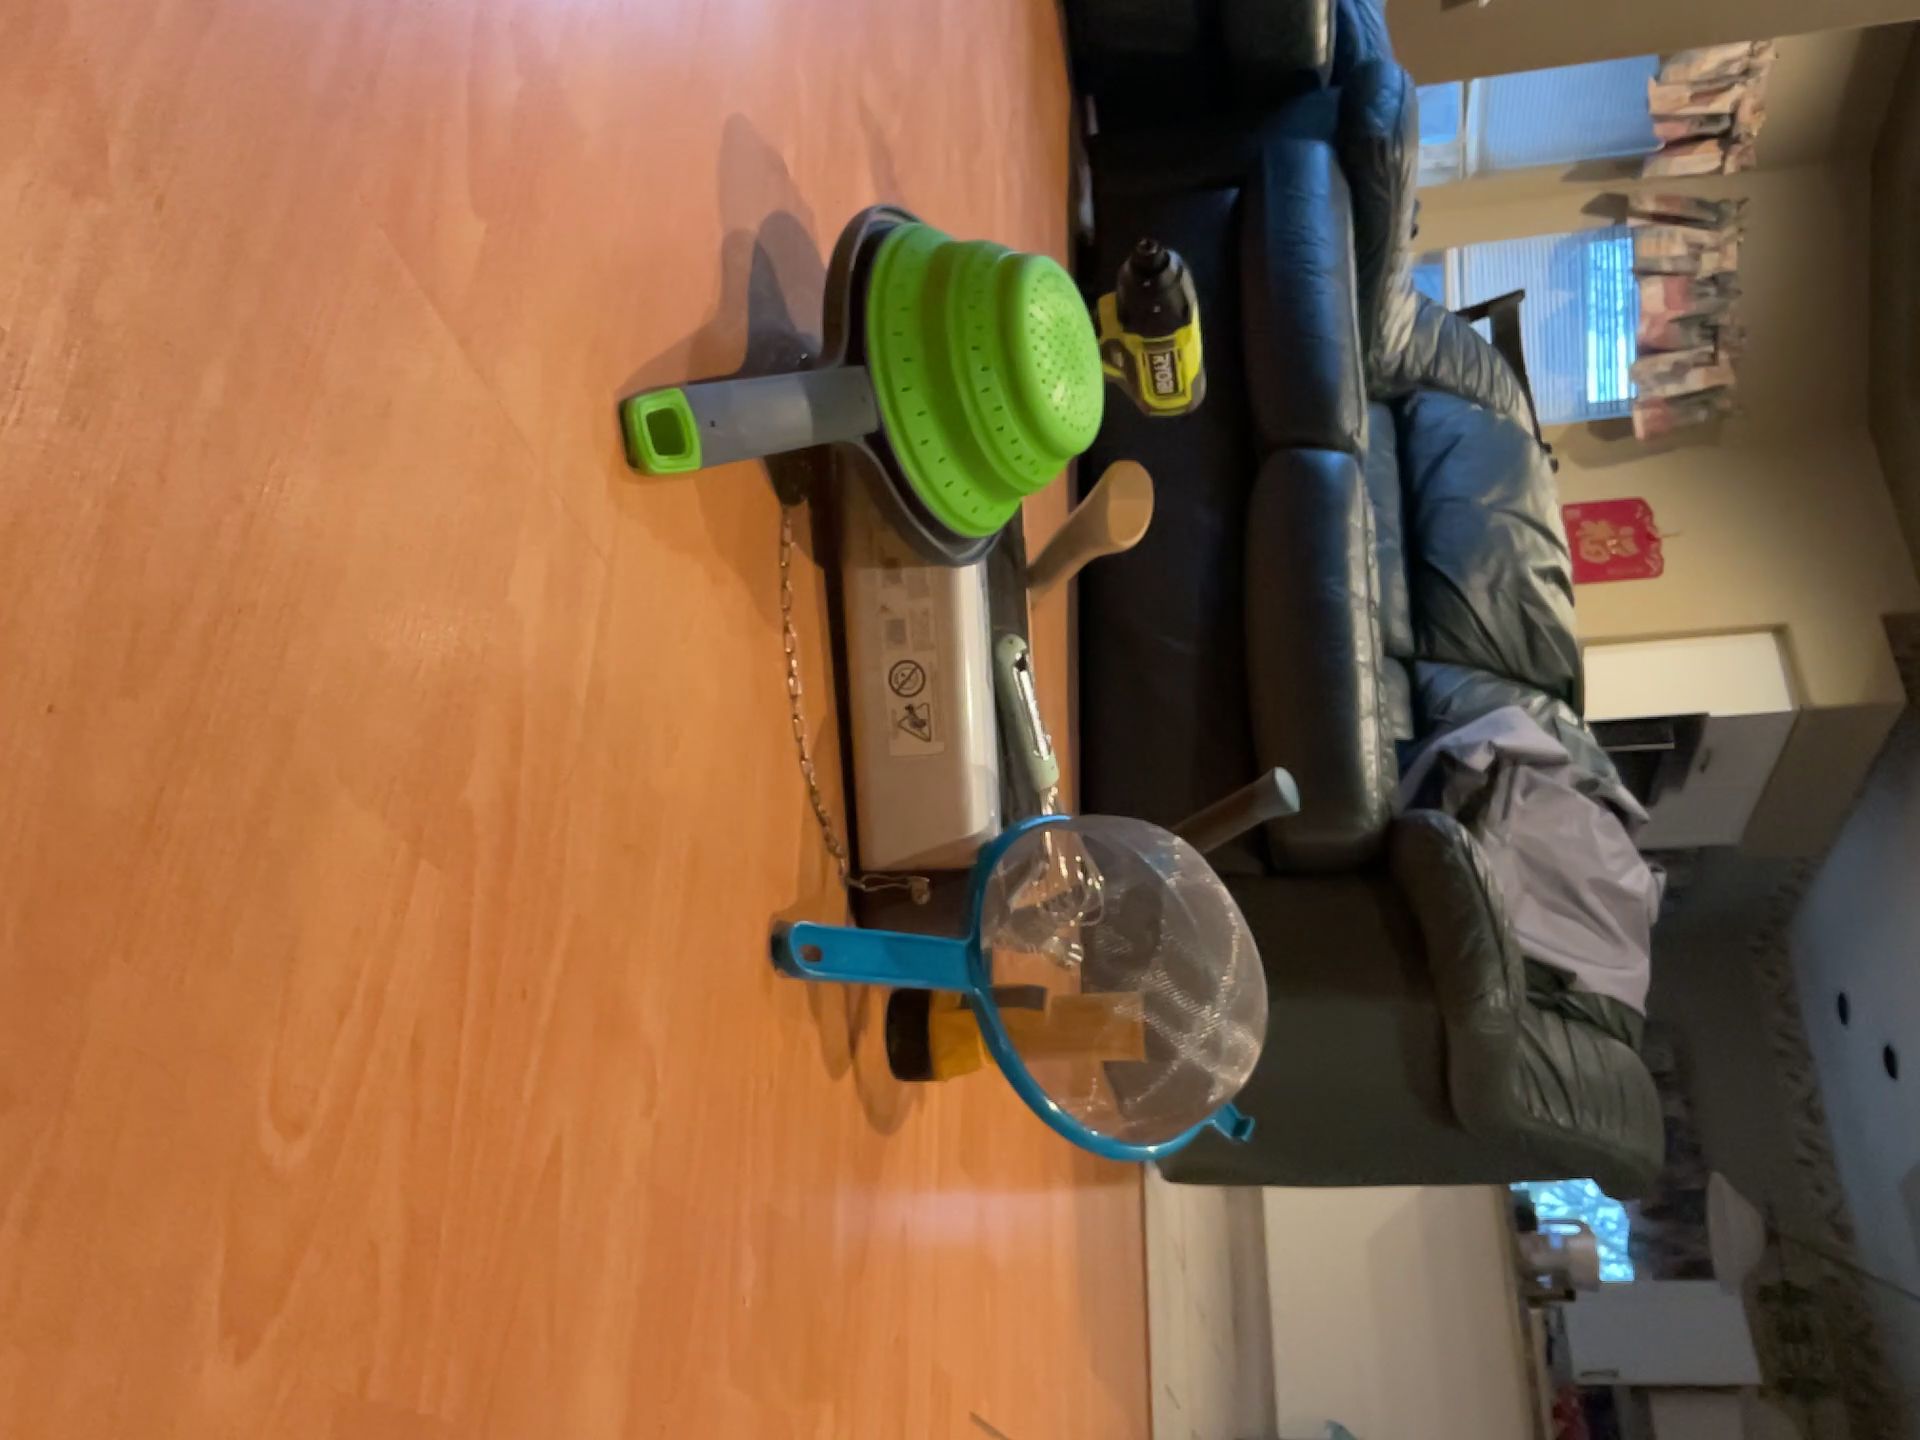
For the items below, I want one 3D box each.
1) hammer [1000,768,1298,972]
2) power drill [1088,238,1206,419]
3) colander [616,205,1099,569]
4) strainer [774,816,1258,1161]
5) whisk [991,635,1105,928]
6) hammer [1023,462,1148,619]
[{"bbox_3d":[0.150,0.123,1.332,0.128,0.330,0.033,28,47,-28],"label":"hammer"},{"bbox_3d":[0.068,-0.289,1.216,0.171,0.223,0.080,64,23,-61],"label":"power drill"},{"bbox_3d":[-0.021,-0.171,0.815,0.397,0.094,0.204,-30,109,-60],"label":"colander"},{"bbox_3d":[0.059,0.128,0.885,0.340,0.095,0.211,13,56,-42],"label":"strainer"},{"bbox_3d":[0.055,0.046,1.064,0.058,0.059,0.246,-46,135,-35],"label":"whisk"},{"bbox_3d":[0.059,-0.113,1.191,0.410,0.038,0.146,136,-46,-73],"label":"hammer"}]
